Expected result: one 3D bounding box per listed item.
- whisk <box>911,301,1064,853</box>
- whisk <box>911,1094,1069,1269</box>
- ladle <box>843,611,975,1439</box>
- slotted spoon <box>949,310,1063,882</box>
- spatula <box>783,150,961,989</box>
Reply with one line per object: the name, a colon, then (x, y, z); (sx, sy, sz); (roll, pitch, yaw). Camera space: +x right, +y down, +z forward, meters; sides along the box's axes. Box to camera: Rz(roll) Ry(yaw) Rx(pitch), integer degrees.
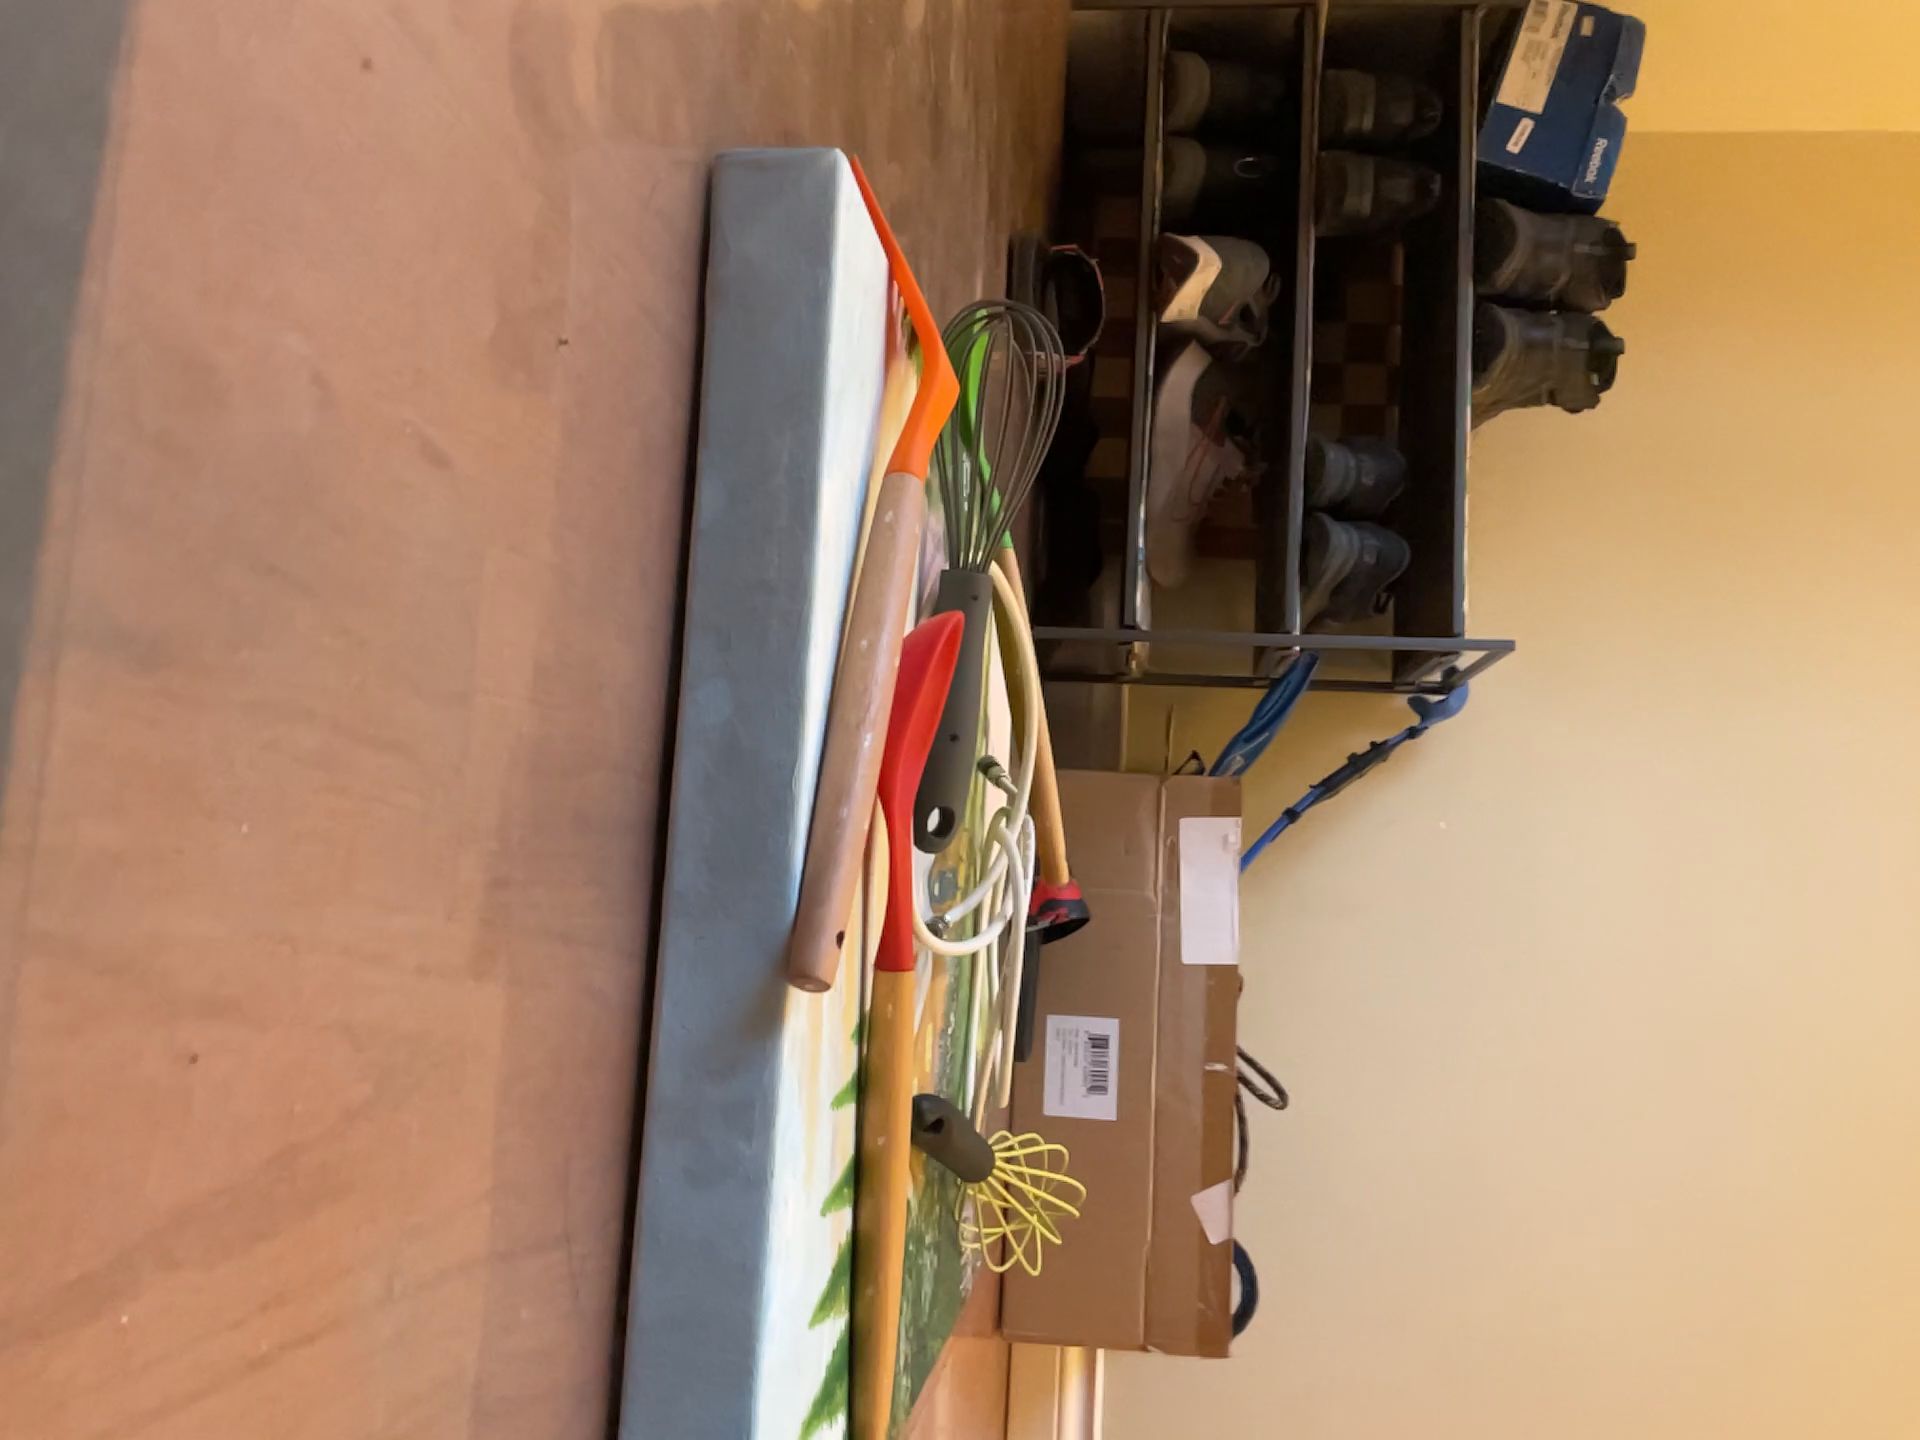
whisk: (0.005, -0.061, 0.679); (0.055, 0.055, 0.239); (1, 98, -73)
whisk: (0.011, 0.233, 0.828); (0.311, 0.067, 0.080); (65, 22, -63)
ladle: (-0.024, 0.116, 0.586); (0.069, 0.031, 0.315); (-7, 102, -82)
slotted spoon: (0.025, -0.069, 0.862); (0.070, 0.031, 0.314); (36, 45, -82)
spatula: (-0.031, -0.061, 0.537); (0.080, 0.041, 0.323); (63, 30, -53)
